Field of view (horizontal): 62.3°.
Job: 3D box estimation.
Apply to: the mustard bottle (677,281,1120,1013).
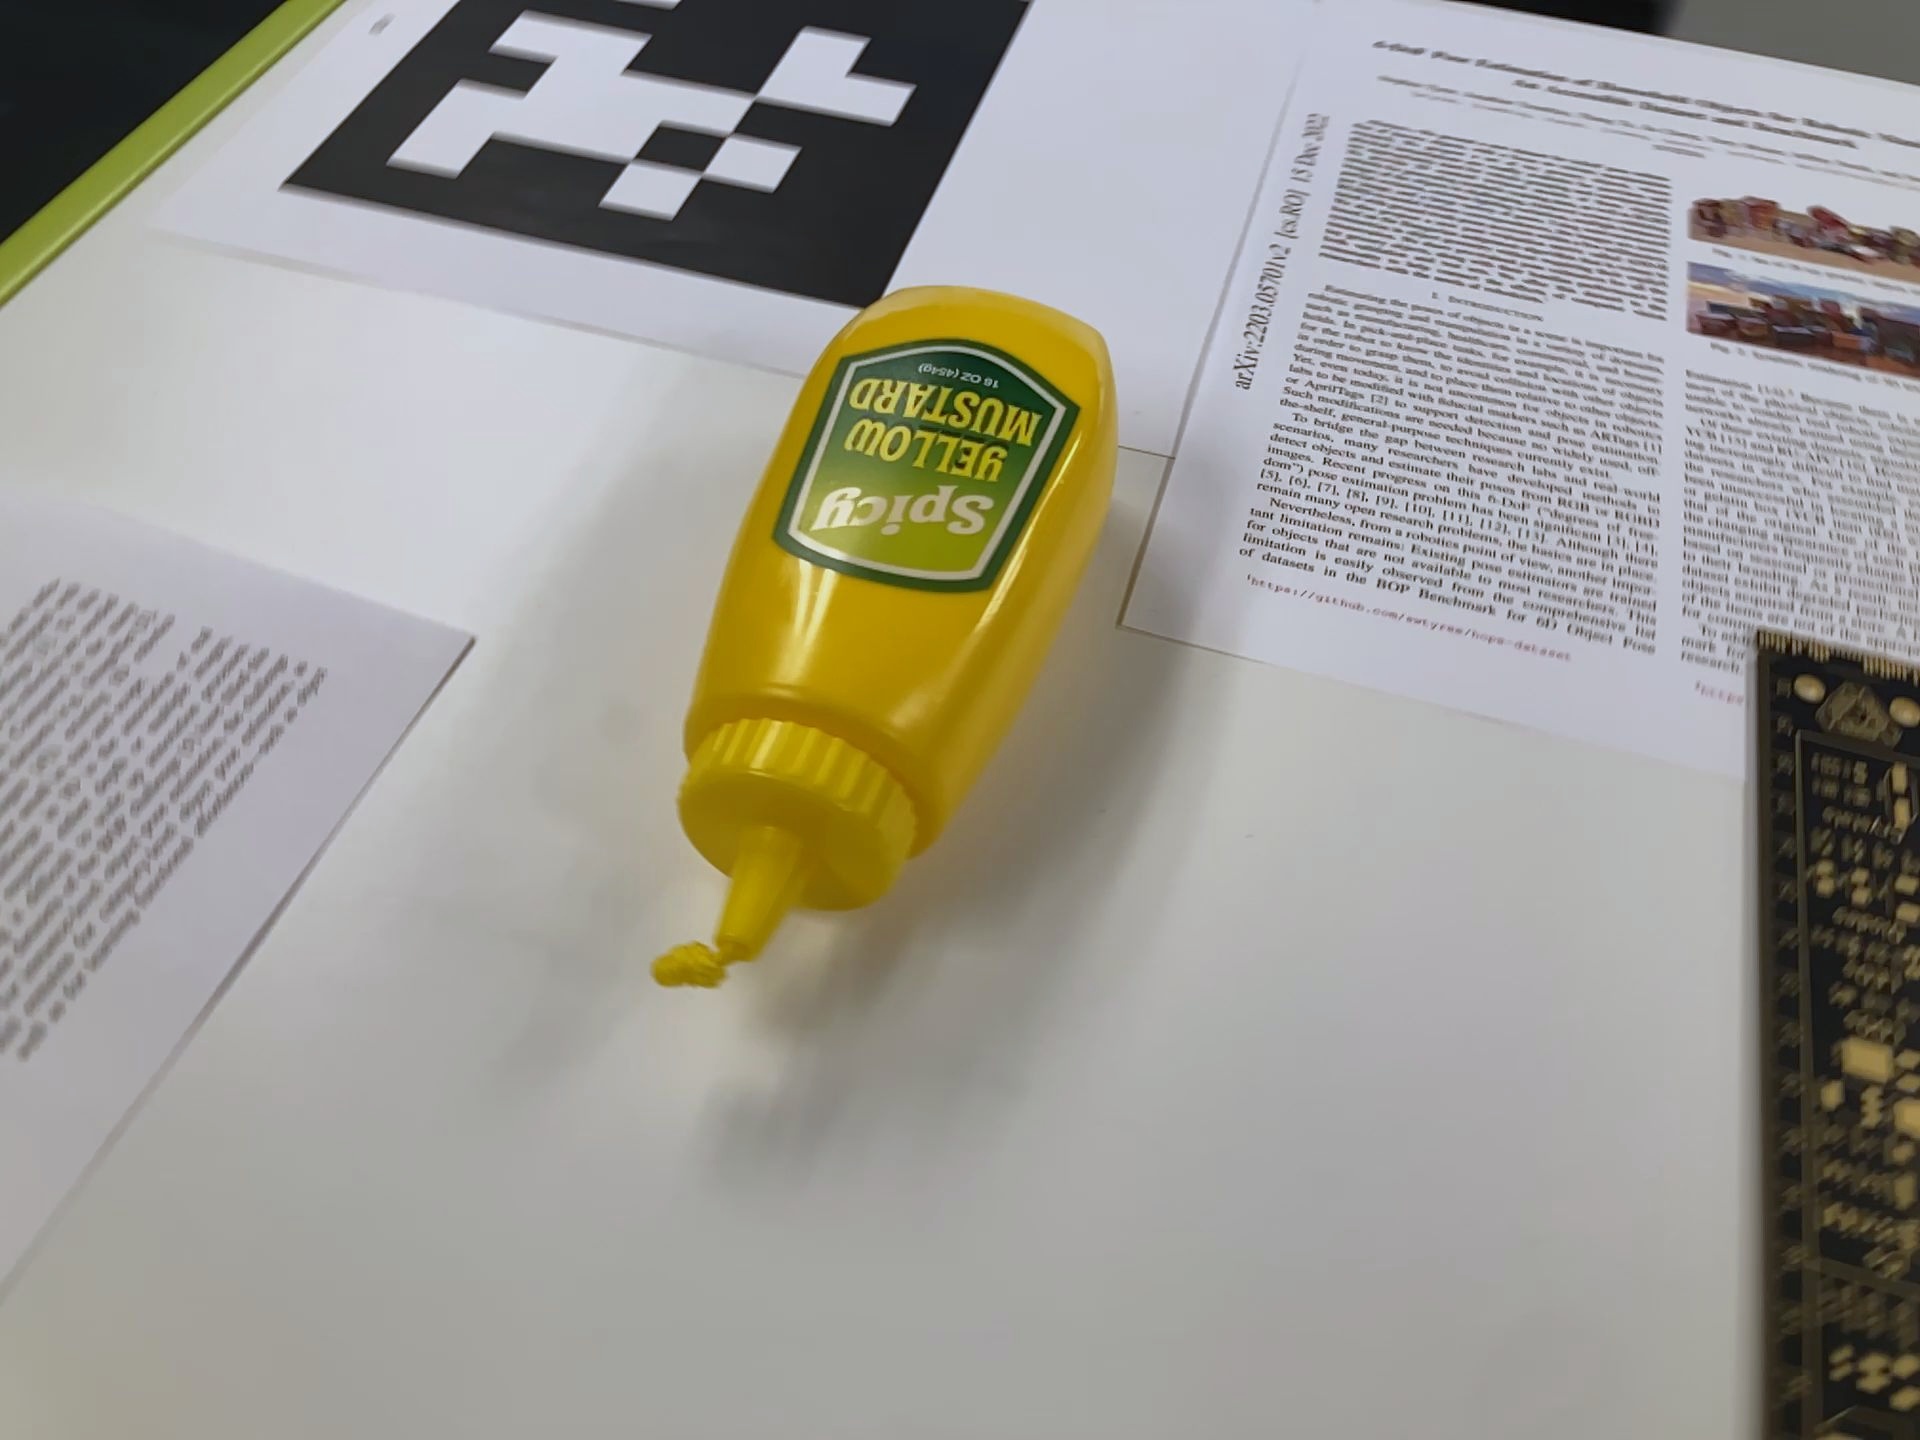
[{"bbox_3d":[-0.014,-0.017,0.290,0.065,0.049,0.160,13,52,9],"label":"mustard bottle"}]
